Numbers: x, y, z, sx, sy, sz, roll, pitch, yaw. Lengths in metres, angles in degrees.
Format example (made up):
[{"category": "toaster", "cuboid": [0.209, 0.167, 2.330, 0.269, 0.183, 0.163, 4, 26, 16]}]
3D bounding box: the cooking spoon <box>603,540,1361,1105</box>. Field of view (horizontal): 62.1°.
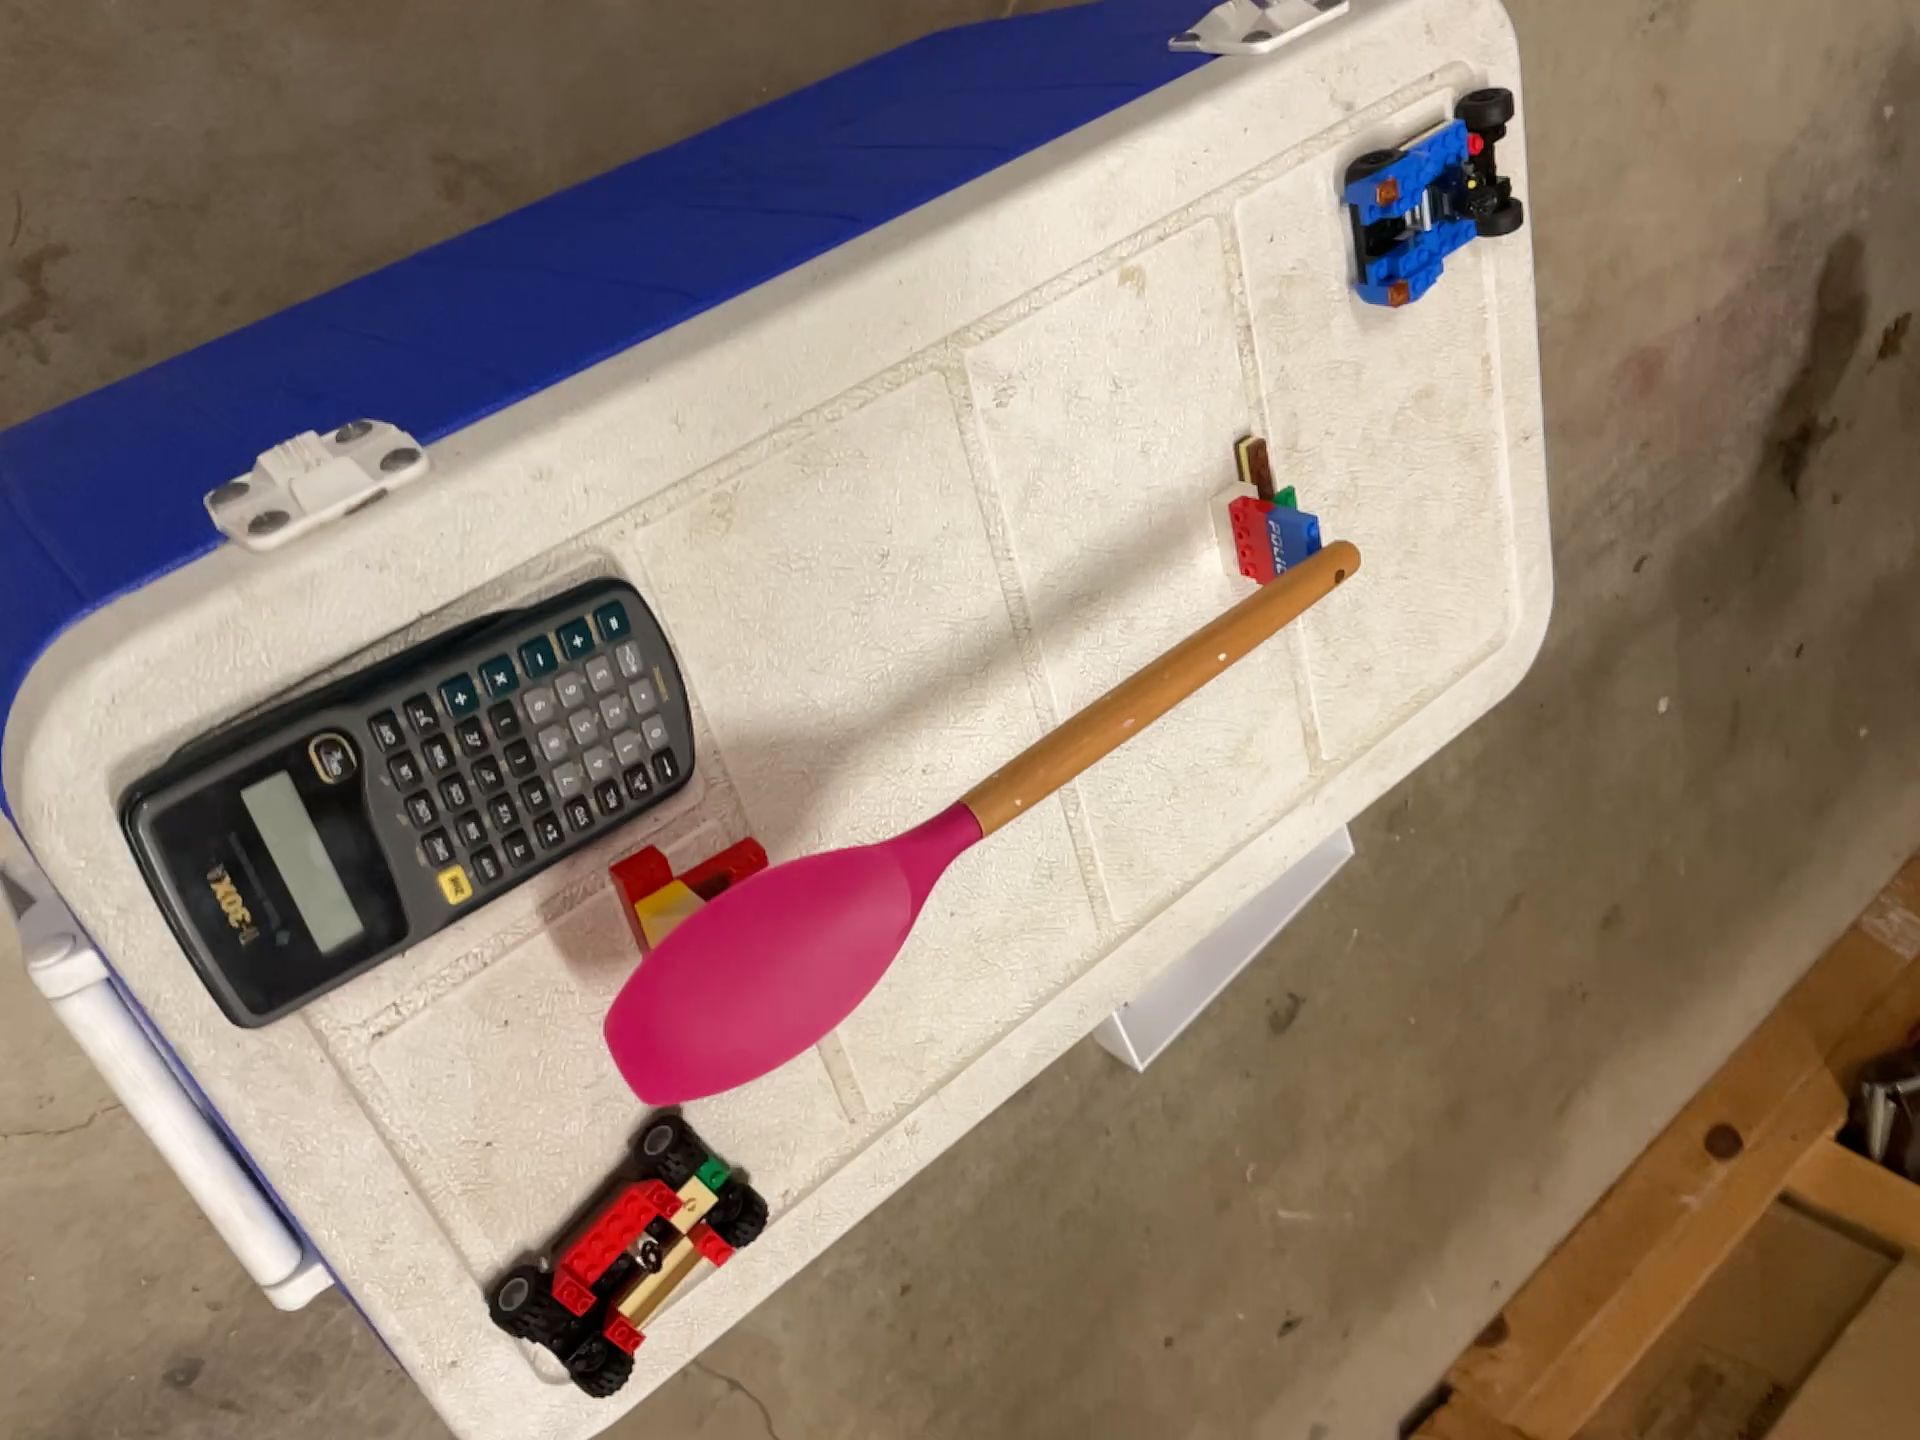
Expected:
[{"category": "cooking spoon", "cuboid": [0.022, 0.020, 0.528, 0.319, 0.017, 0.068, -33, 126, -23]}]
